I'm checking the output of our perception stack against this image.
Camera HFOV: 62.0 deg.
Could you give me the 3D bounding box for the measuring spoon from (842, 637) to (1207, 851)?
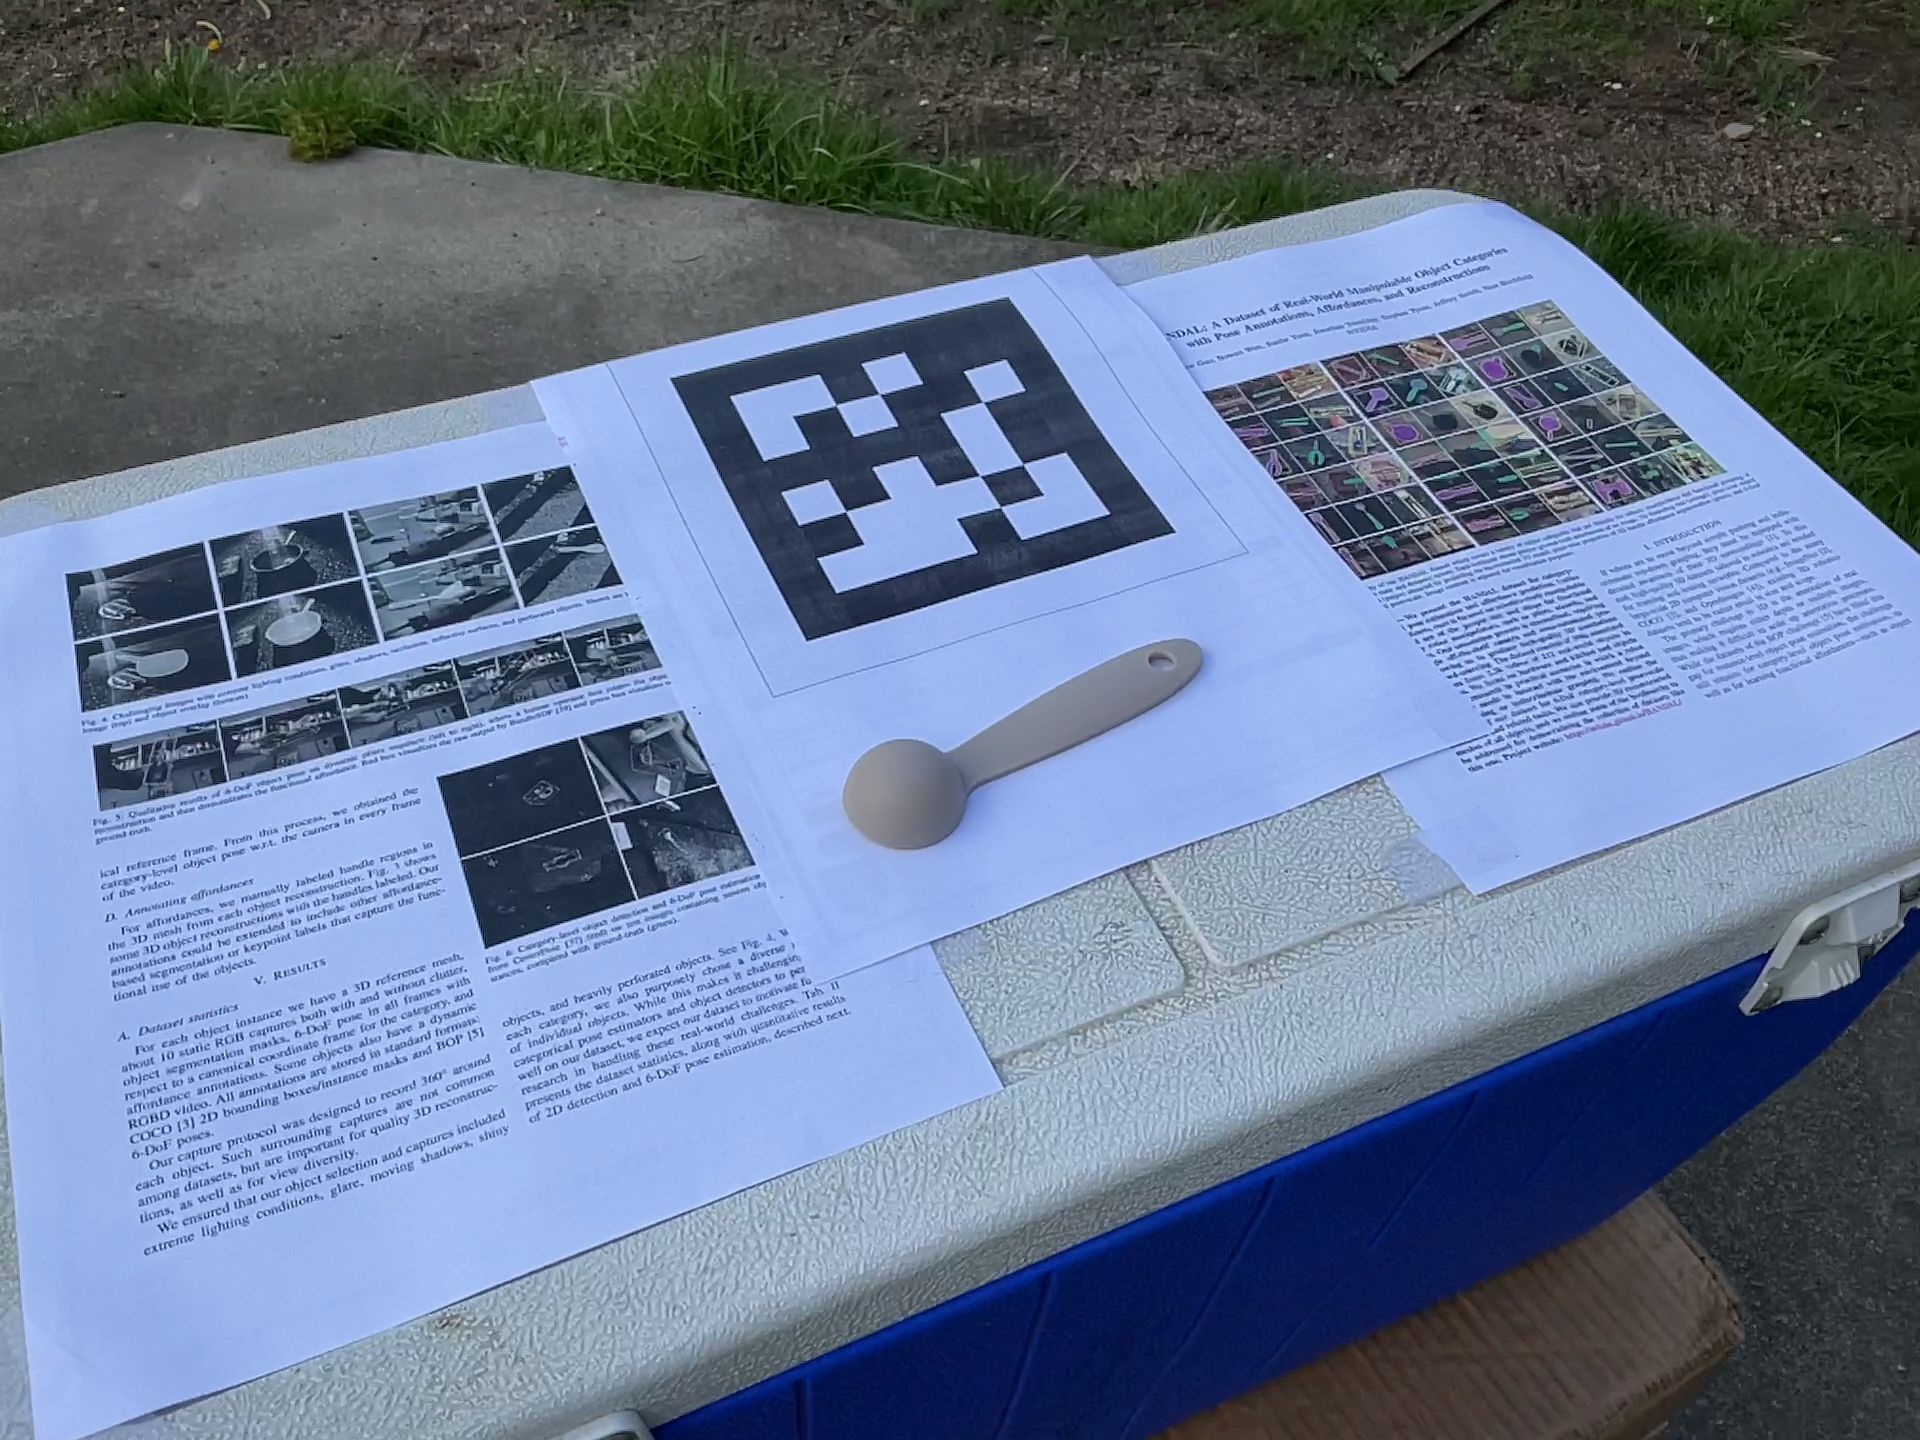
[{"bbox_3d":[0.022,-0.001,0.451,0.124,0.018,0.034,-26,56,-23],"label":"measuring spoon"}]
